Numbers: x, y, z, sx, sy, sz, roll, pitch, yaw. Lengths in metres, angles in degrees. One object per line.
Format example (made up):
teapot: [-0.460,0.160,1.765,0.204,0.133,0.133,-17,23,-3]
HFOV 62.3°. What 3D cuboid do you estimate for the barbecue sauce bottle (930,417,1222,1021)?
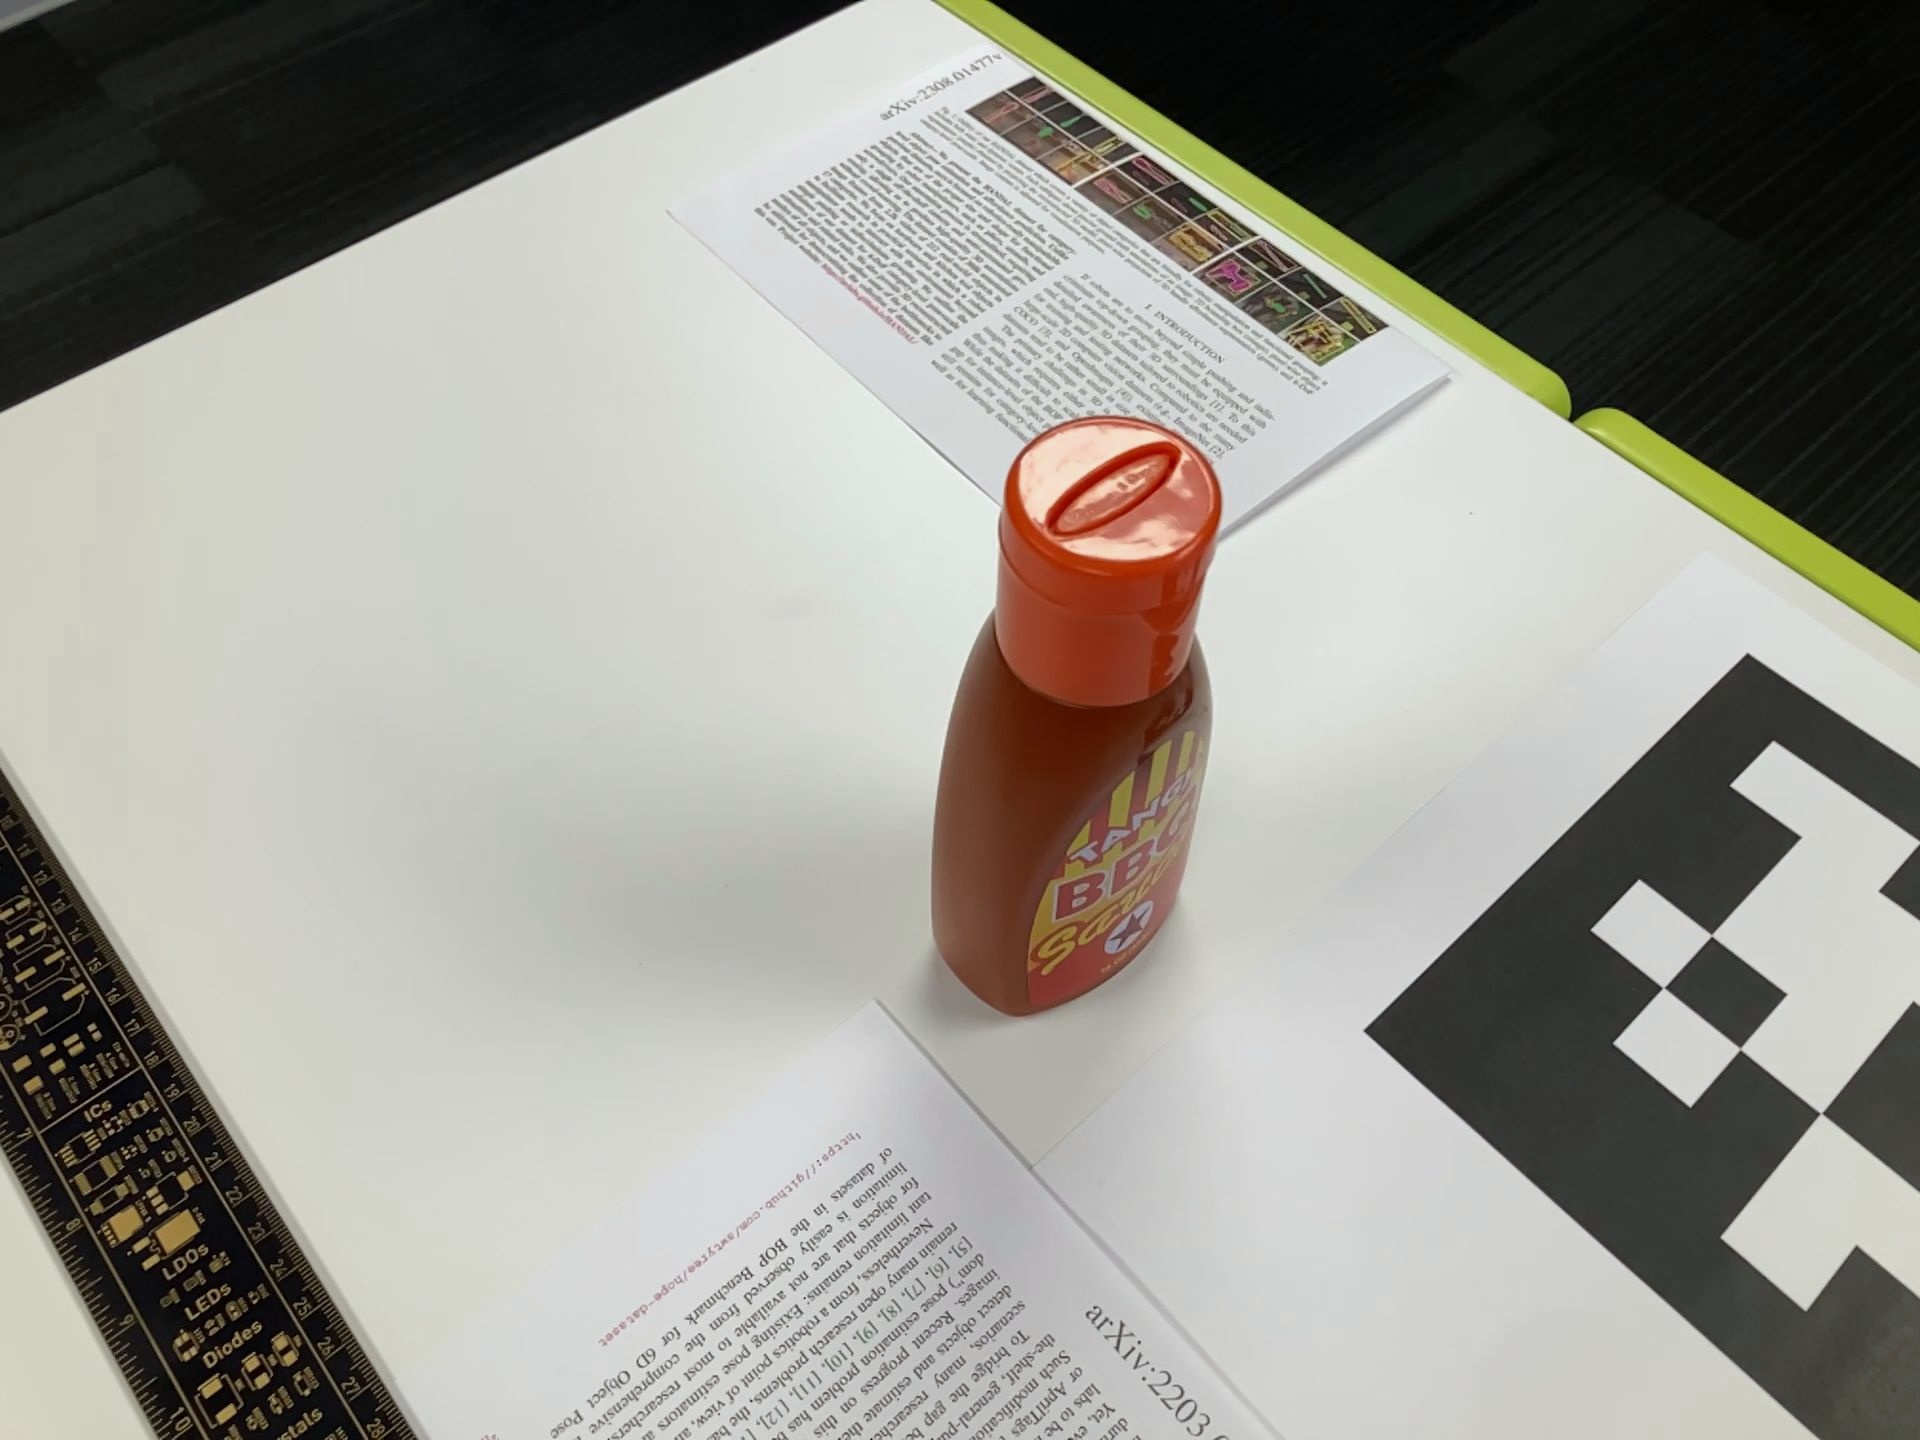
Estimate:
barbecue sauce bottle: [0.024,0.005,0.321,0.065,0.148,0.043,-35,62,-22]
